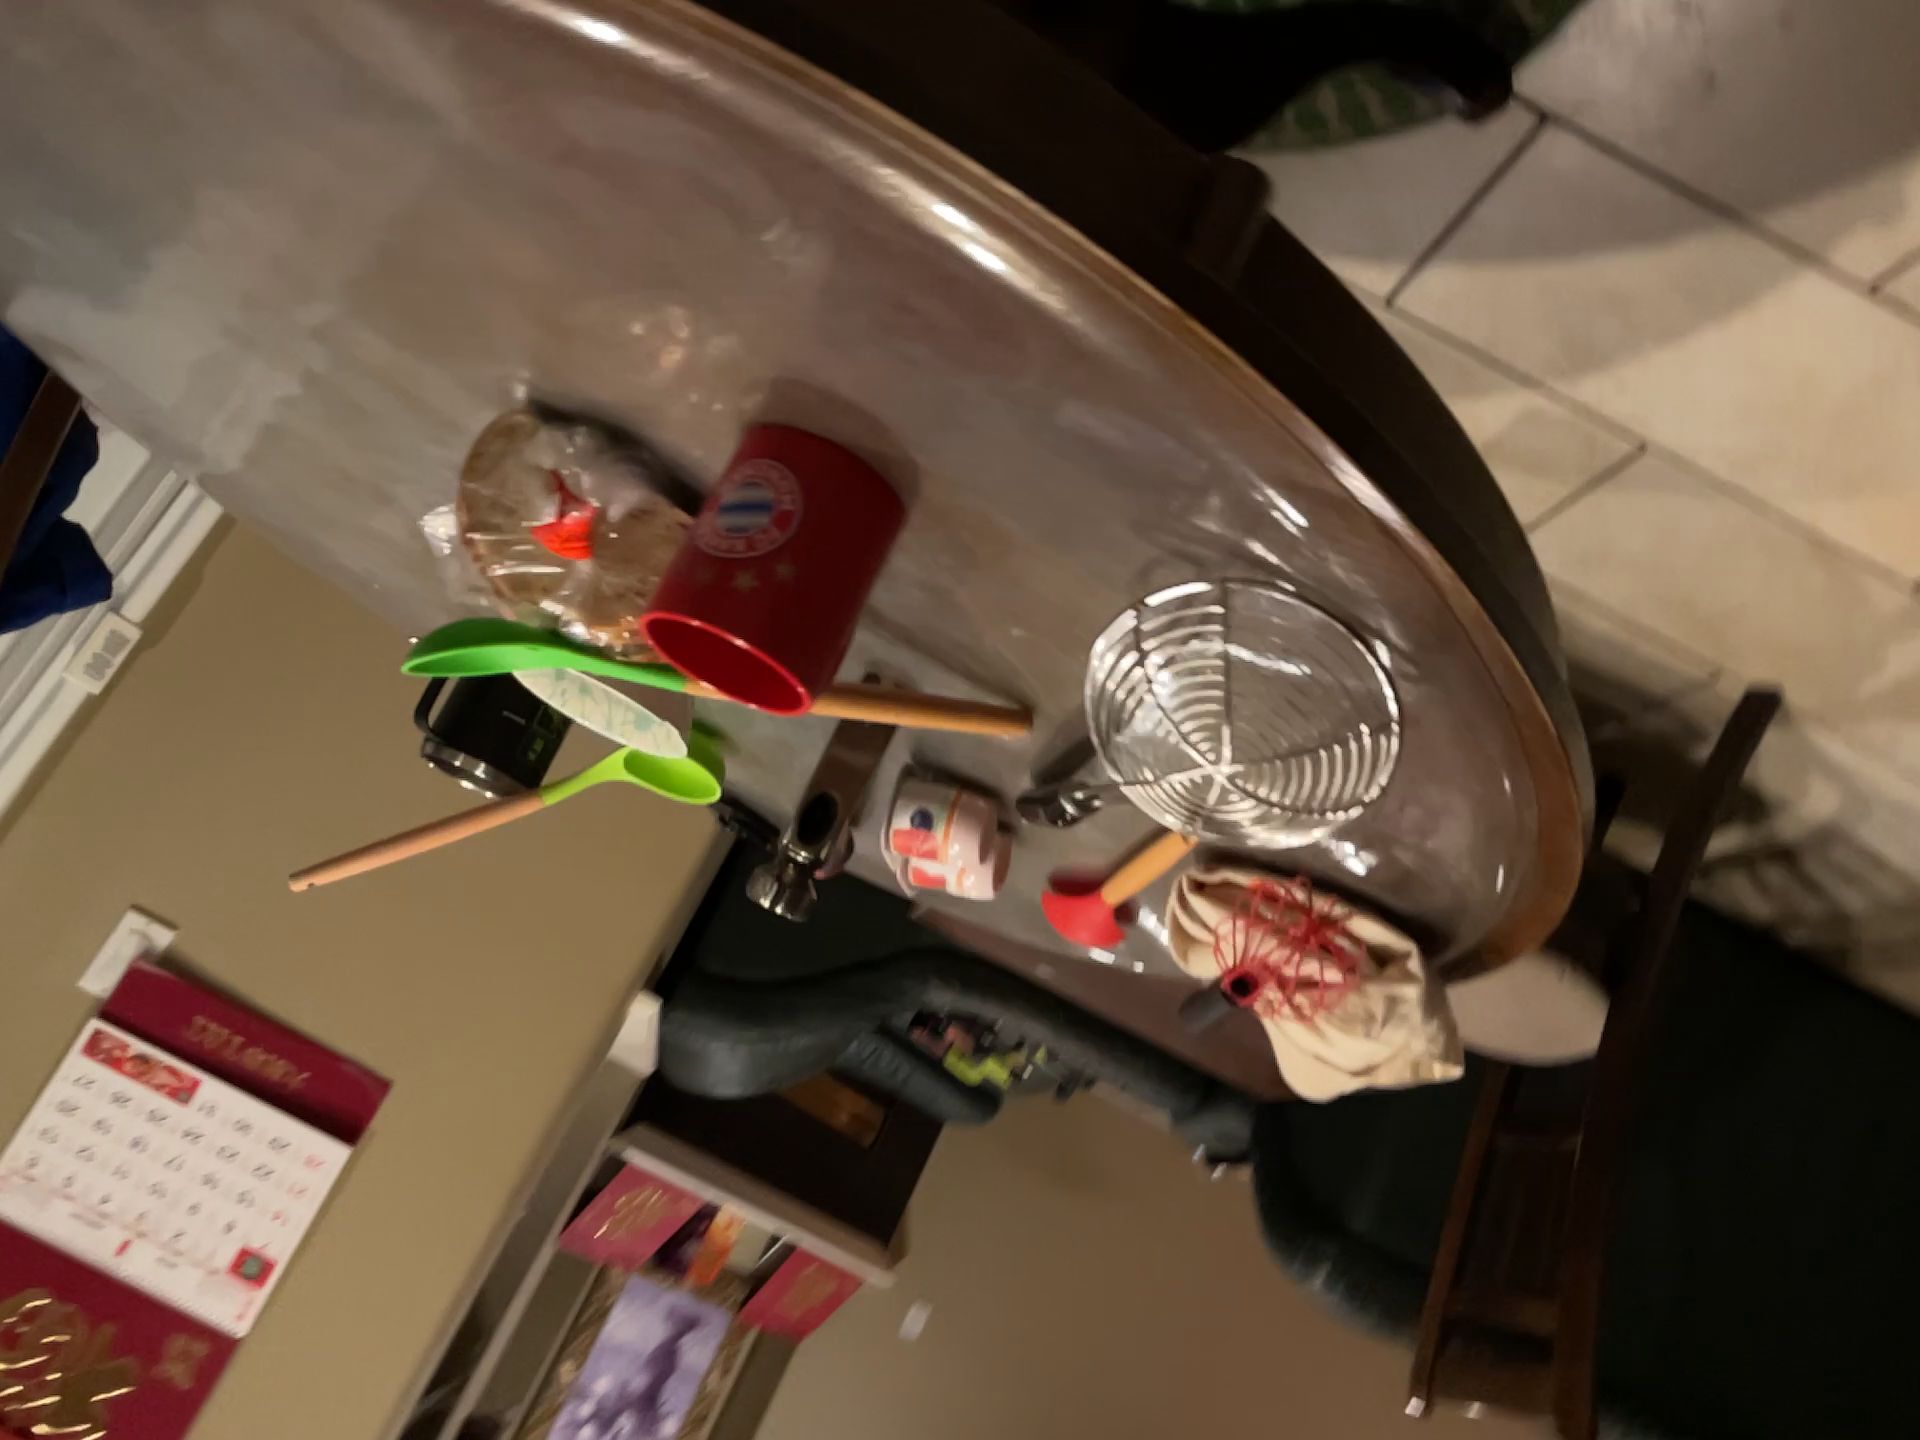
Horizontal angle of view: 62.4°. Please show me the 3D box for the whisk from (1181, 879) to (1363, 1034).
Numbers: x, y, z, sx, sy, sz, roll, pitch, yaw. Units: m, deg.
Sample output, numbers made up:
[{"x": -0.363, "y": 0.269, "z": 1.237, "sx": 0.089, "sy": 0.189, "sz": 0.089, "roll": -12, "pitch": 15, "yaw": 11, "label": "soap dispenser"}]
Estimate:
[{"x": 0.161, "y": 0.145, "z": 0.881, "sx": 0.073, "sy": 0.073, "sz": 0.295, "roll": 23, "pitch": 162, "yaw": 5, "label": "whisk"}]

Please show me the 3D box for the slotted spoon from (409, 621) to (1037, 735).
[{"x": -0.111, "y": -0.017, "z": 0.797, "sx": 0.313, "sy": 0.031, "sz": 0.070, "roll": 7, "pitch": 171, "yaw": -15, "label": "slotted spoon"}]

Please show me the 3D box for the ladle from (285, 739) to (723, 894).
[{"x": -0.329, "y": 0.075, "z": 1.152, "sx": 0.078, "sy": 0.320, "sz": 0.062, "roll": 82, "pitch": 166, "yaw": -55, "label": "ladle"}]

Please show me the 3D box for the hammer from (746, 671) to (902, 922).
[{"x": -0.081, "y": 0.060, "z": 1.053, "sx": 0.038, "sy": 0.143, "sz": 0.386, "roll": 27, "pitch": 173, "yaw": 0, "label": "hammer"}]

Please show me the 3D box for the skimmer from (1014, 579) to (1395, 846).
[{"x": 0.088, "y": 0.012, "z": 0.769, "sx": 0.127, "sy": 0.090, "sz": 0.363, "roll": 36, "pitch": 171, "yaw": -5, "label": "skimmer"}]

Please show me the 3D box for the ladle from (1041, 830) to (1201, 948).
[{"x": 0.105, "y": 0.105, "z": 1.003, "sx": 0.069, "sy": 0.031, "sz": 0.315, "roll": 26, "pitch": 159, "yaw": 0, "label": "ladle"}]
